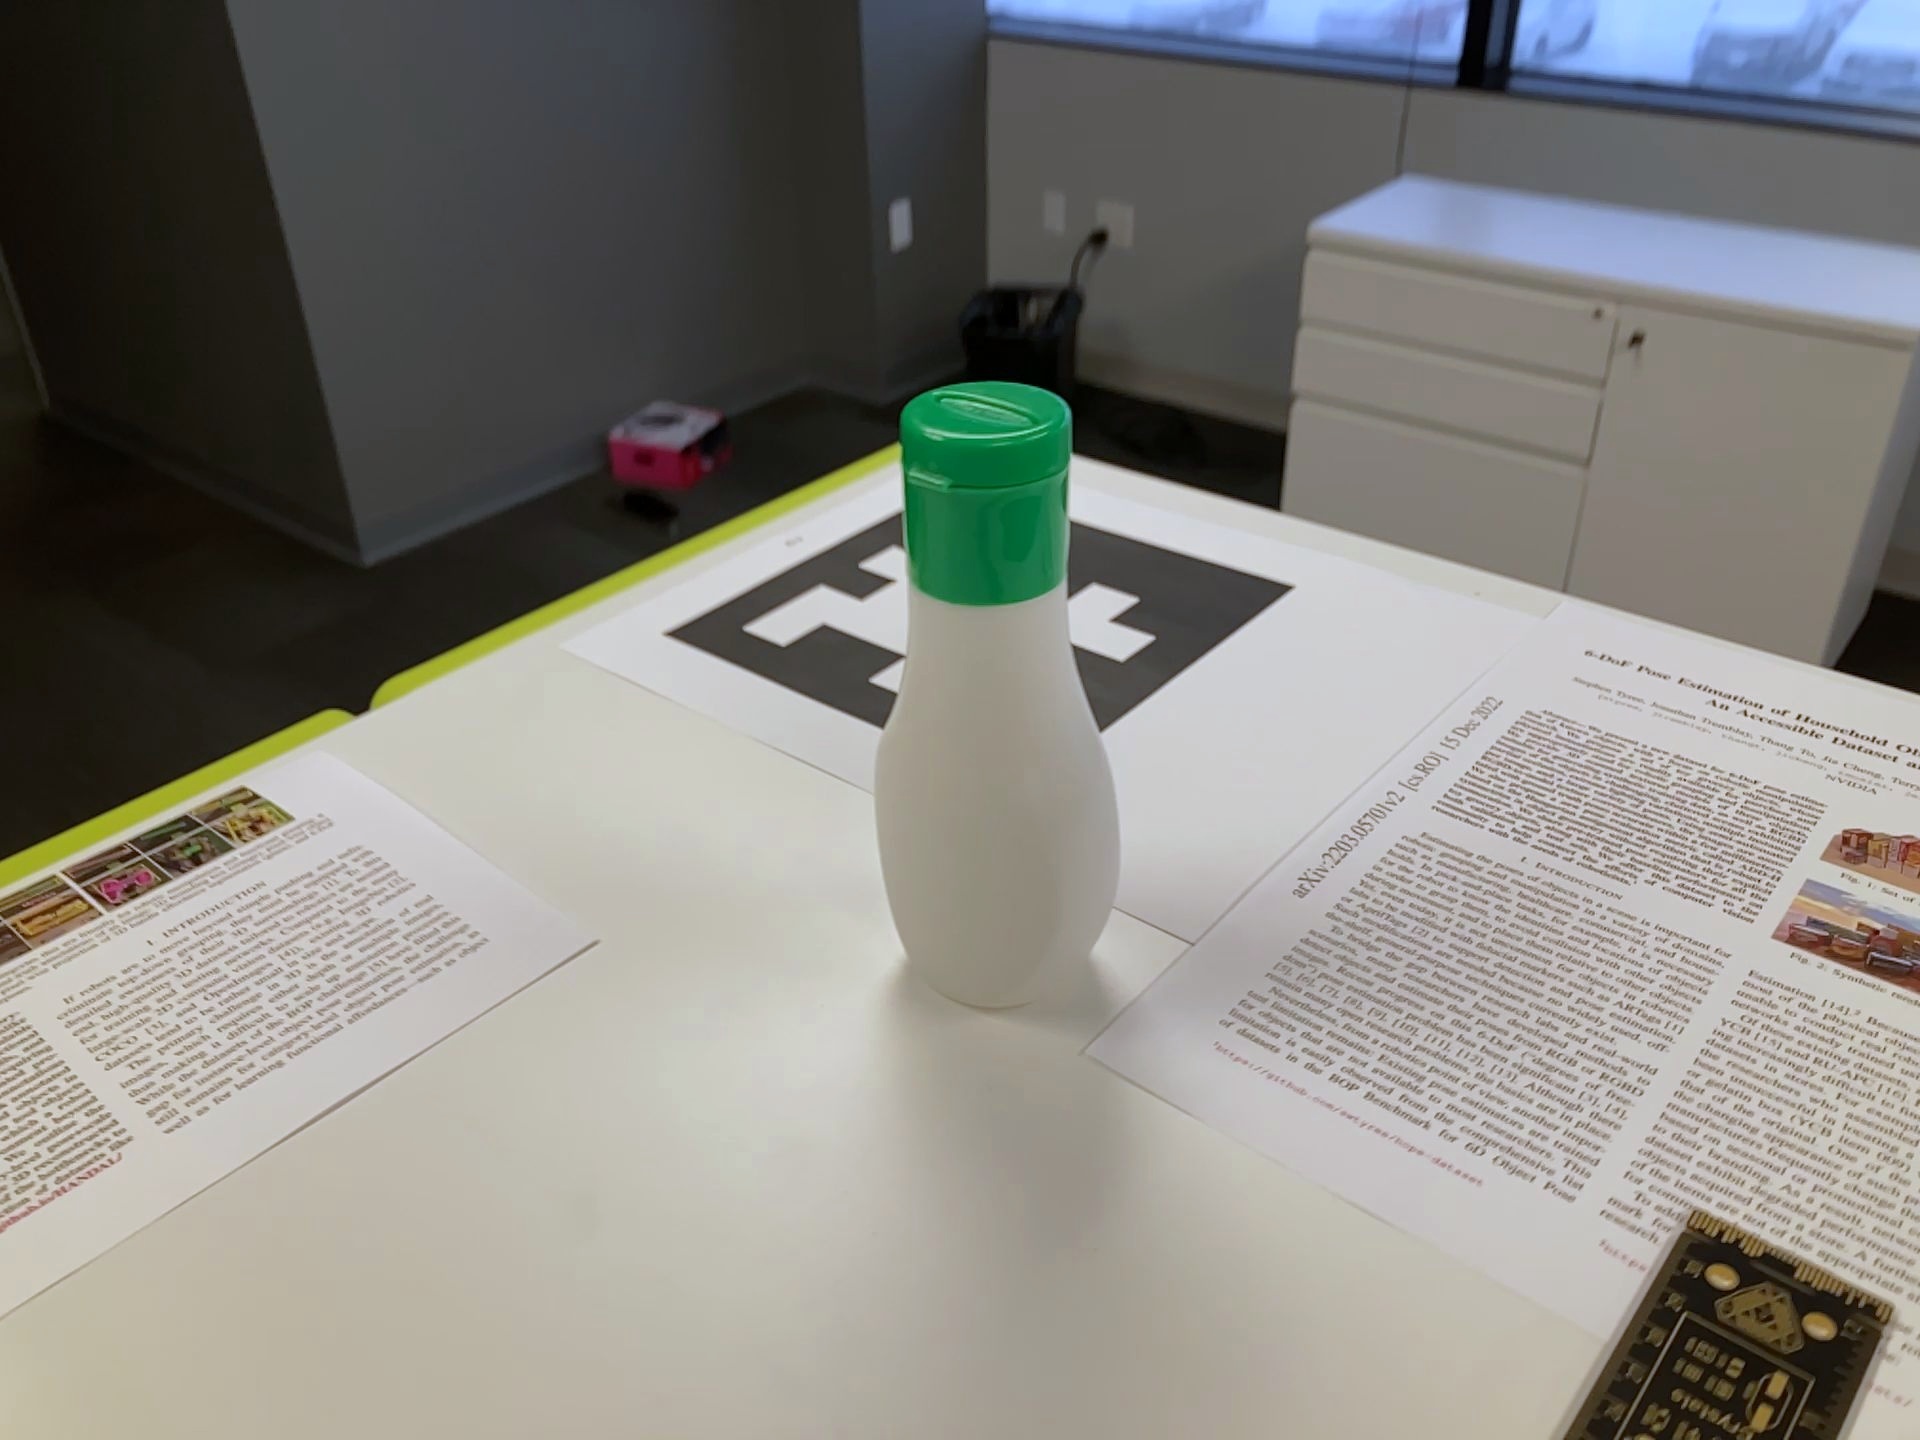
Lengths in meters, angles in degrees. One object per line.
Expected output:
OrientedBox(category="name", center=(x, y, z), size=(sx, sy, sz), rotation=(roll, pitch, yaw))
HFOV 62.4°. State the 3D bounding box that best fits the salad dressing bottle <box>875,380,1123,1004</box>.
OrientedBox(category="salad dressing bottle", center=(0.008, -0.003, 0.370), size=(0.064, 0.147, 0.044), rotation=(24, 40, 34))
